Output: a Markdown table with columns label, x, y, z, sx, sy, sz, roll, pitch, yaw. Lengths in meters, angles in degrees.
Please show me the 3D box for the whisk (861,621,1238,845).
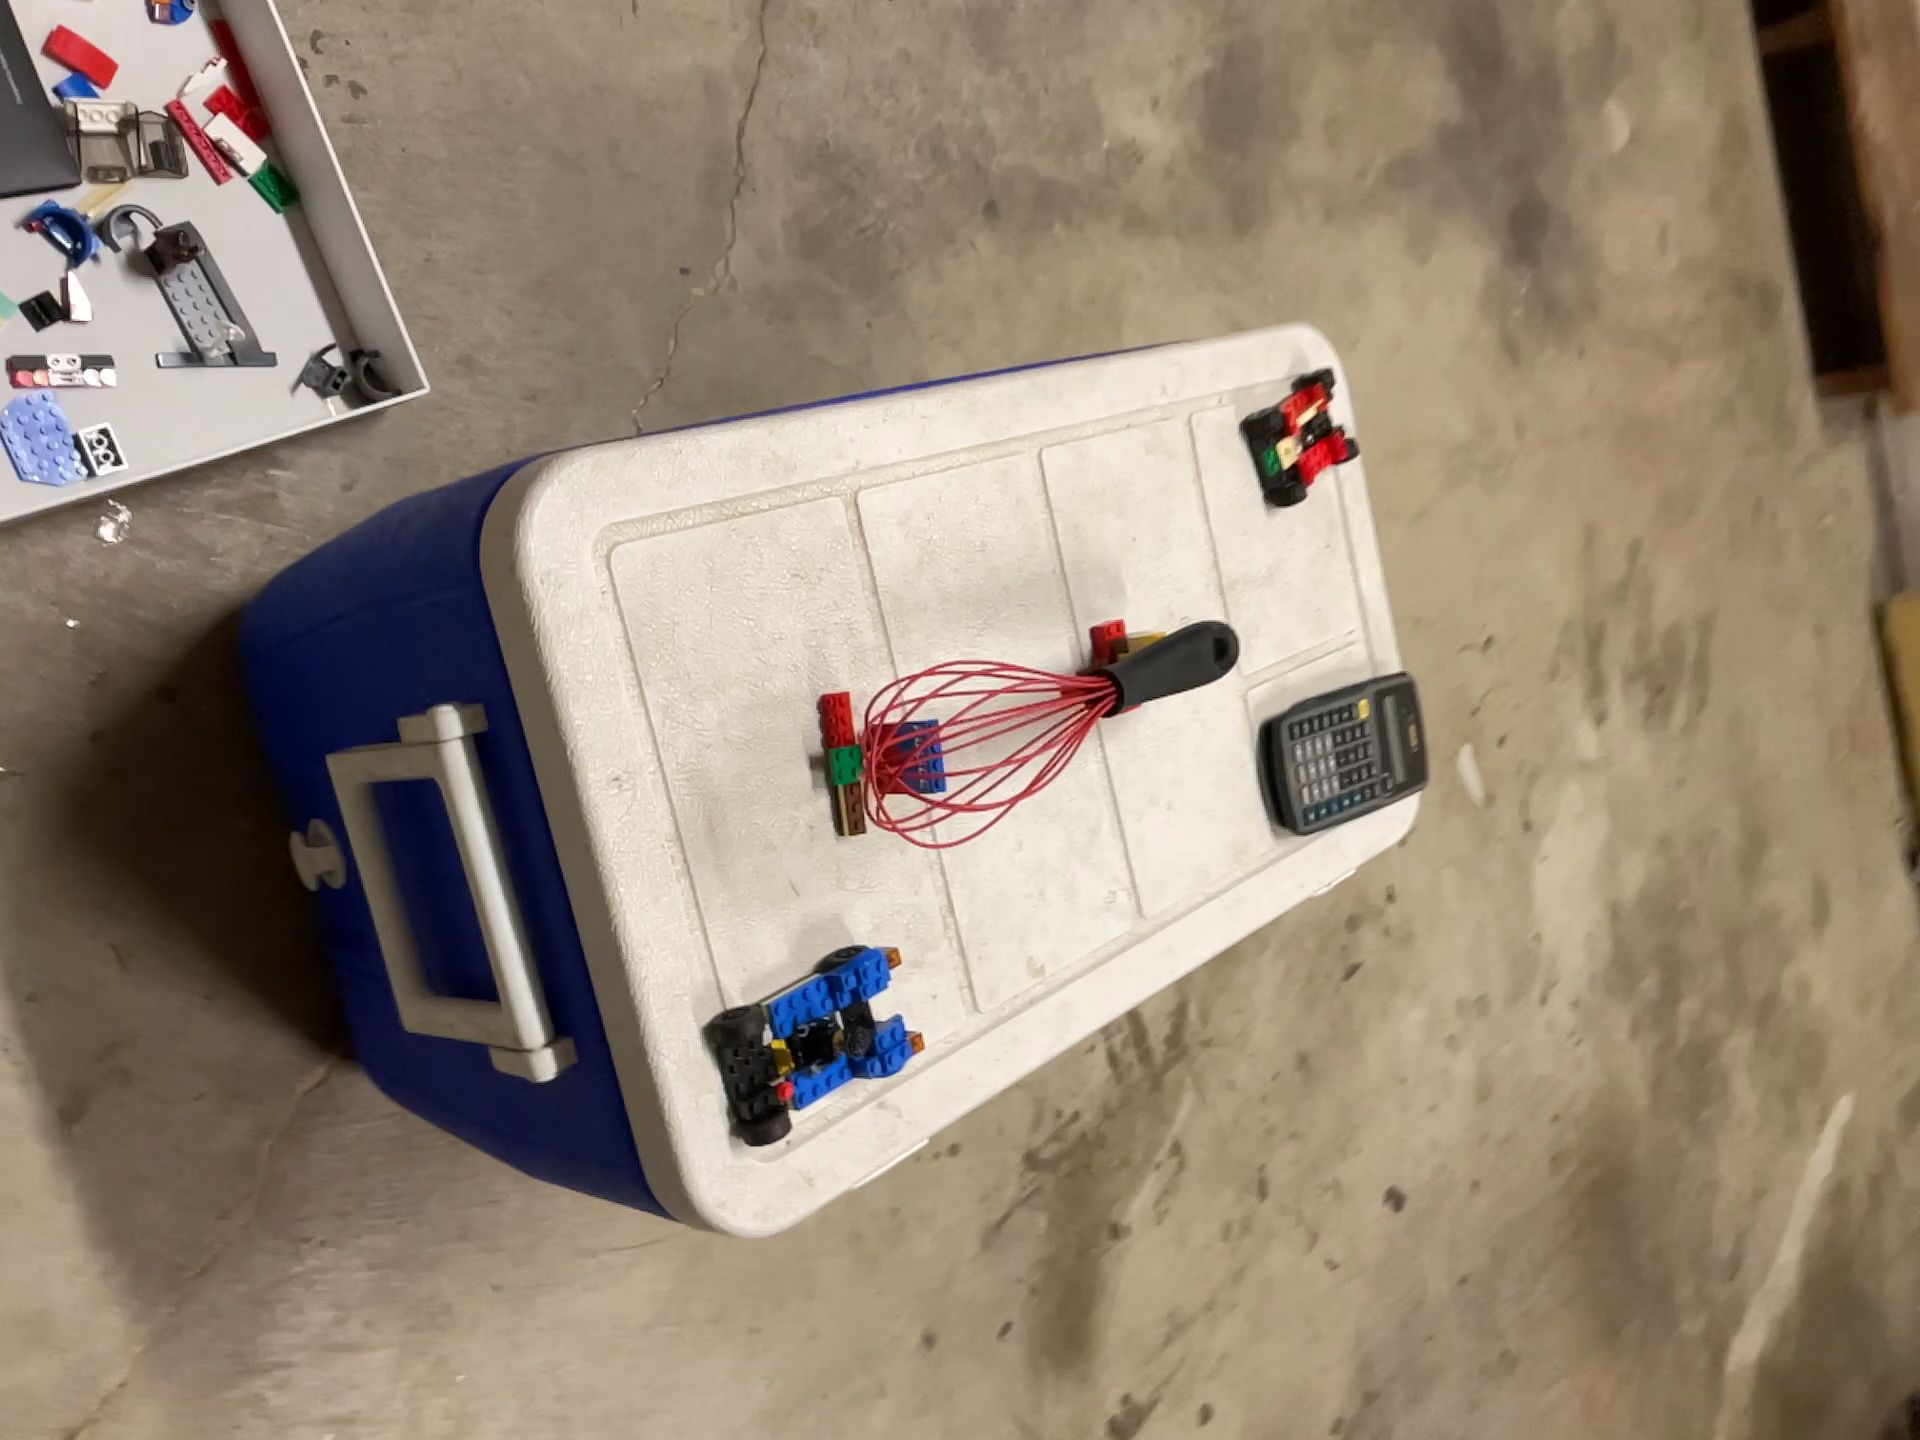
| label | x | y | z | sx | sy | sz | roll | pitch | yaw |
| --- | --- | --- | --- | --- | --- | --- | --- | --- | --- |
| whisk | 0.053 | -0.008 | 0.718 | 0.296 | 0.073 | 0.073 | -20 | 98 | -52 |
